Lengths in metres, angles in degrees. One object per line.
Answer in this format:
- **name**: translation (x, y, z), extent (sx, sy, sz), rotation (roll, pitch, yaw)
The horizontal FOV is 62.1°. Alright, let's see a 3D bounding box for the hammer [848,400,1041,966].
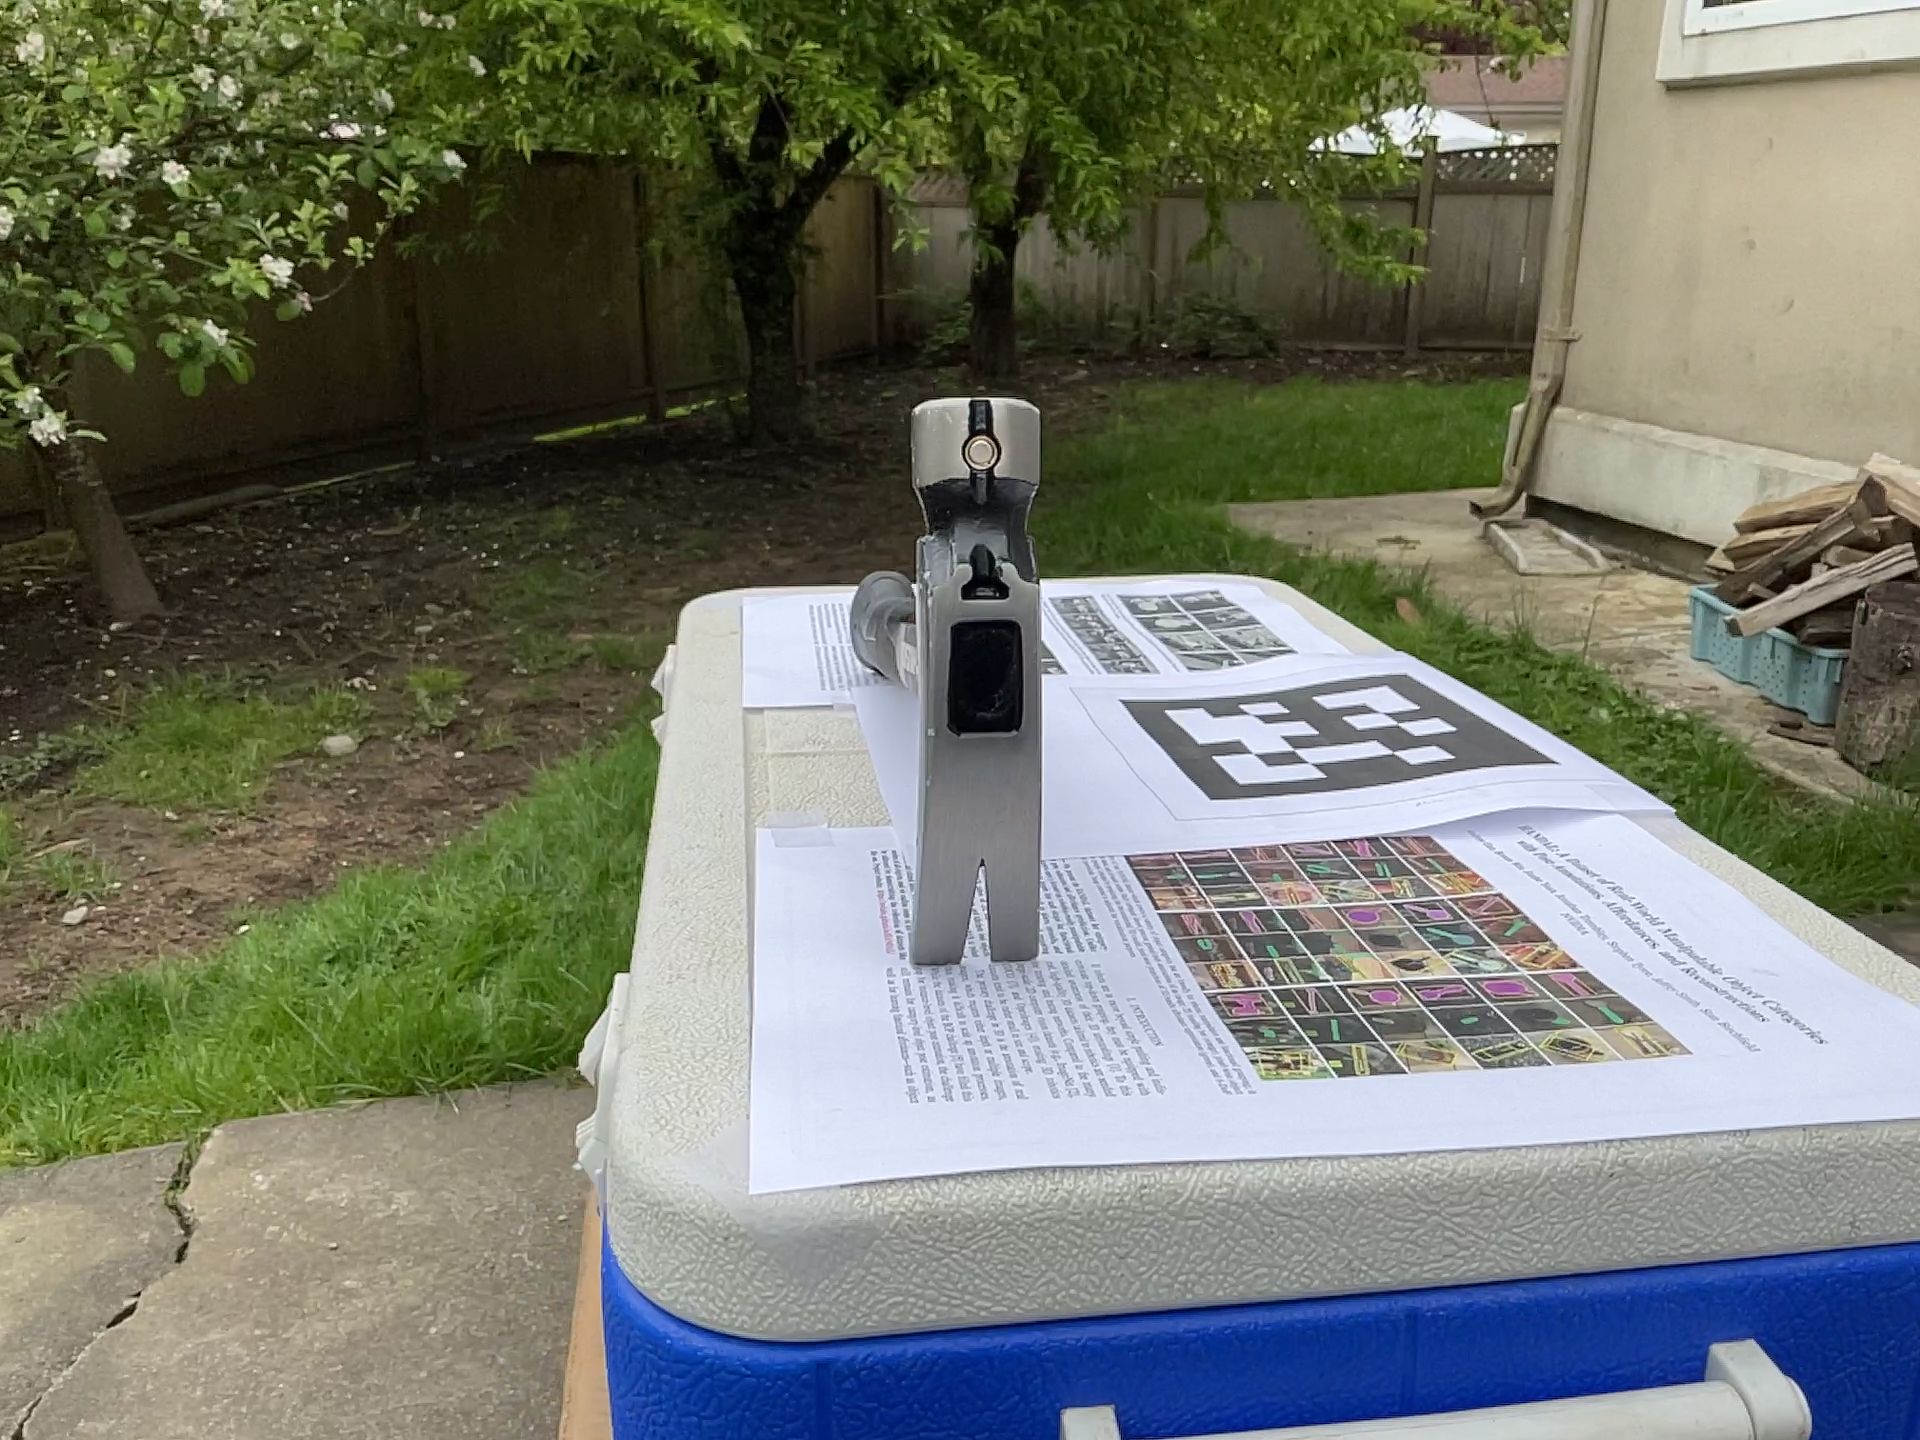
- **hammer**: translation (-0.014, -0.019, 0.555), extent (0.035, 0.146, 0.335), rotation (-1, 5, -7)
